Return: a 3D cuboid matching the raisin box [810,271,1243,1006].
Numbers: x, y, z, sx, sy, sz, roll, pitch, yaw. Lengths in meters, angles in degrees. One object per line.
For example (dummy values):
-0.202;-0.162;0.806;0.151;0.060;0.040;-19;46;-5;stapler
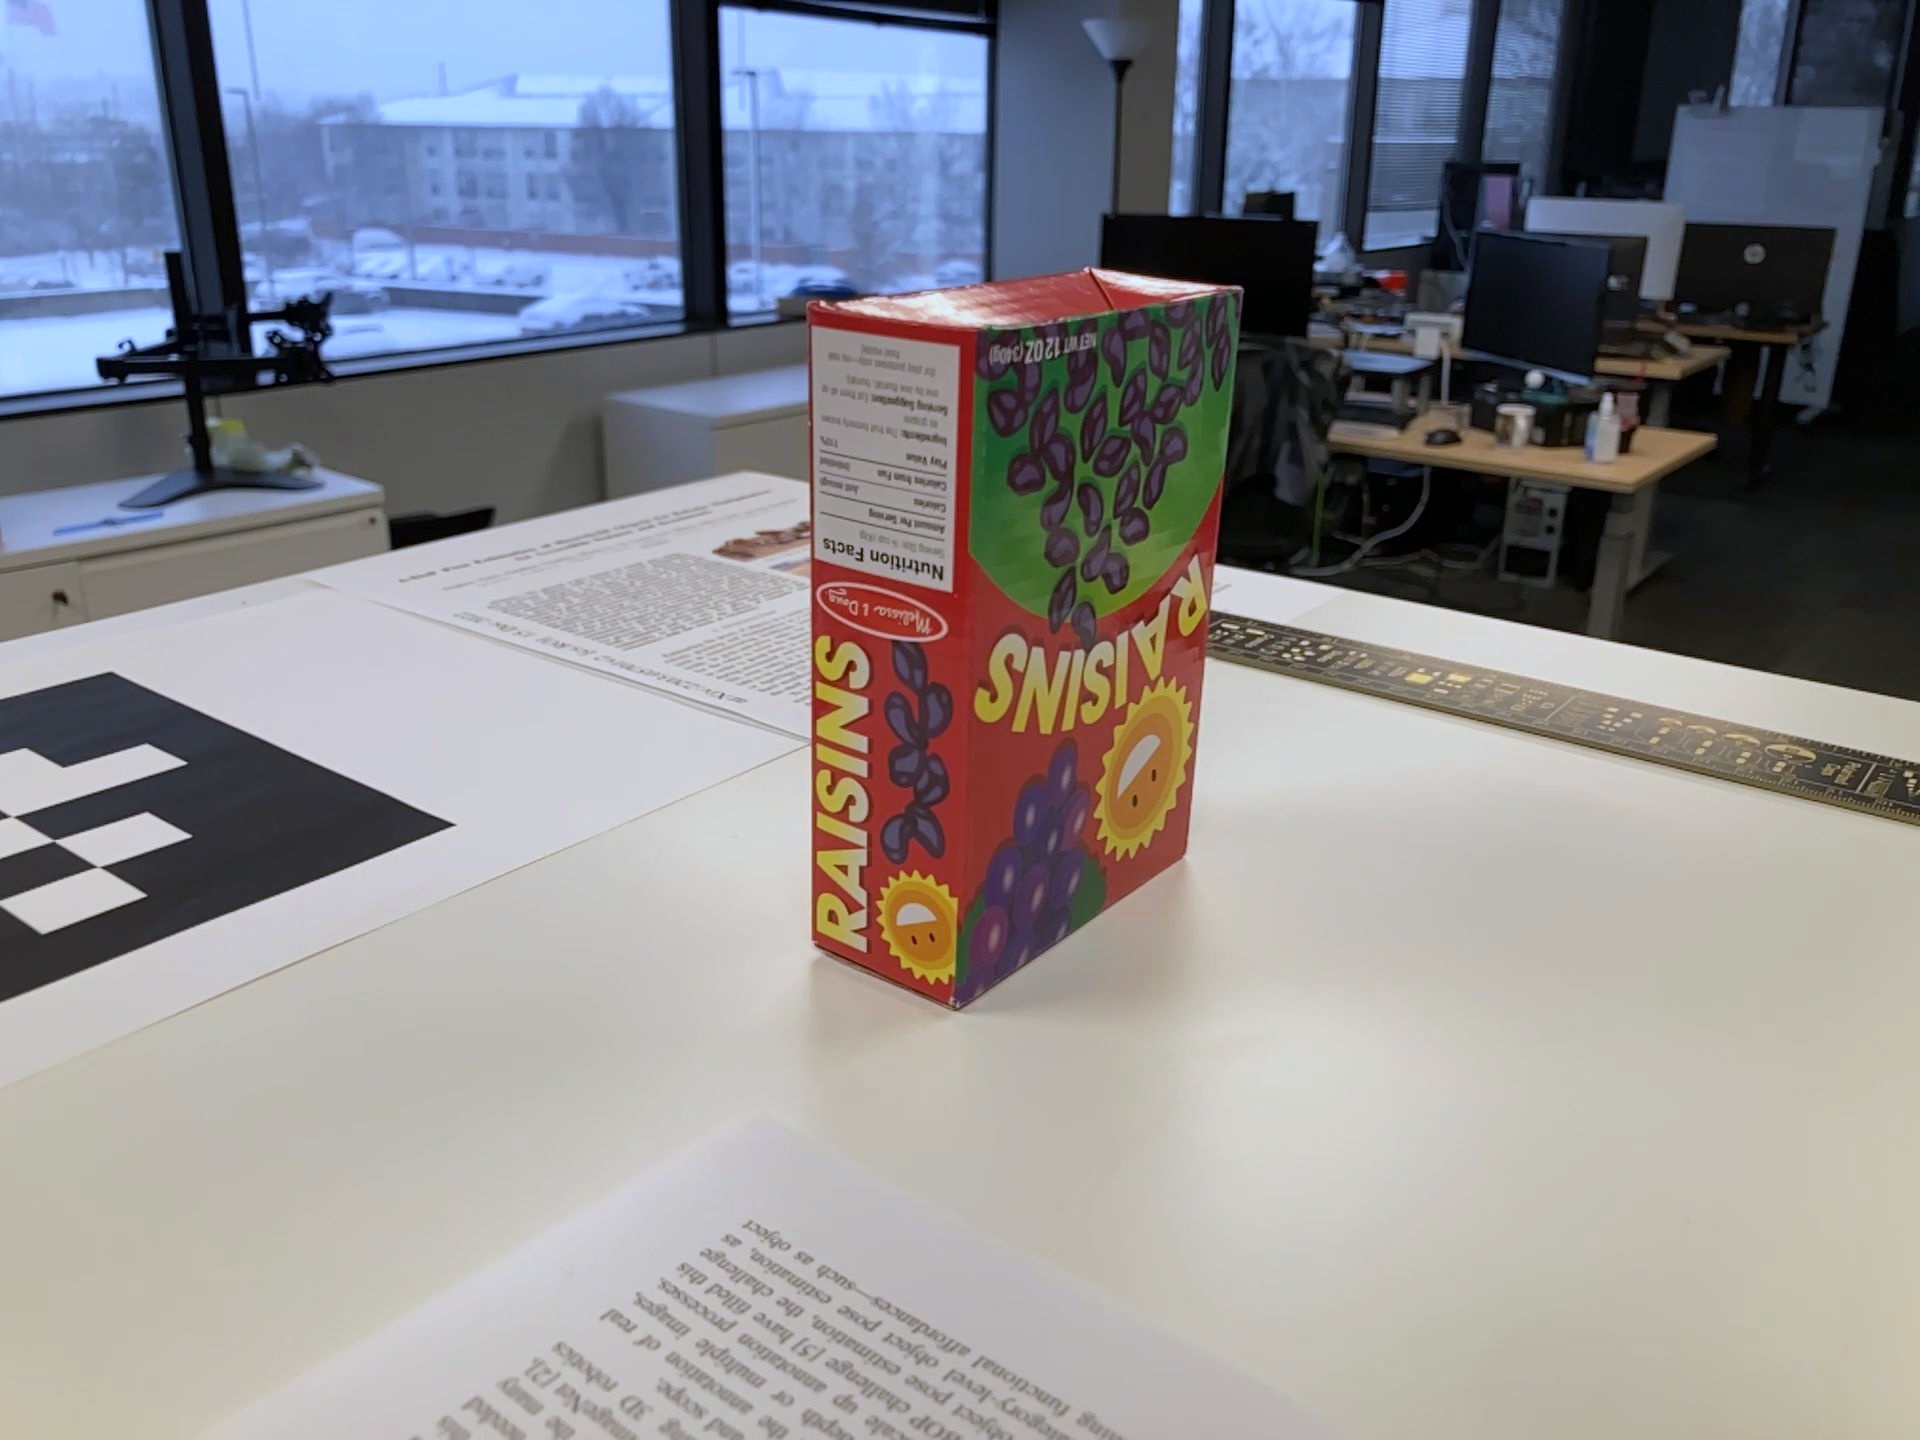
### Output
0.012;-0.019;0.305;0.040;0.123;0.086;17;25;33;raisin box
